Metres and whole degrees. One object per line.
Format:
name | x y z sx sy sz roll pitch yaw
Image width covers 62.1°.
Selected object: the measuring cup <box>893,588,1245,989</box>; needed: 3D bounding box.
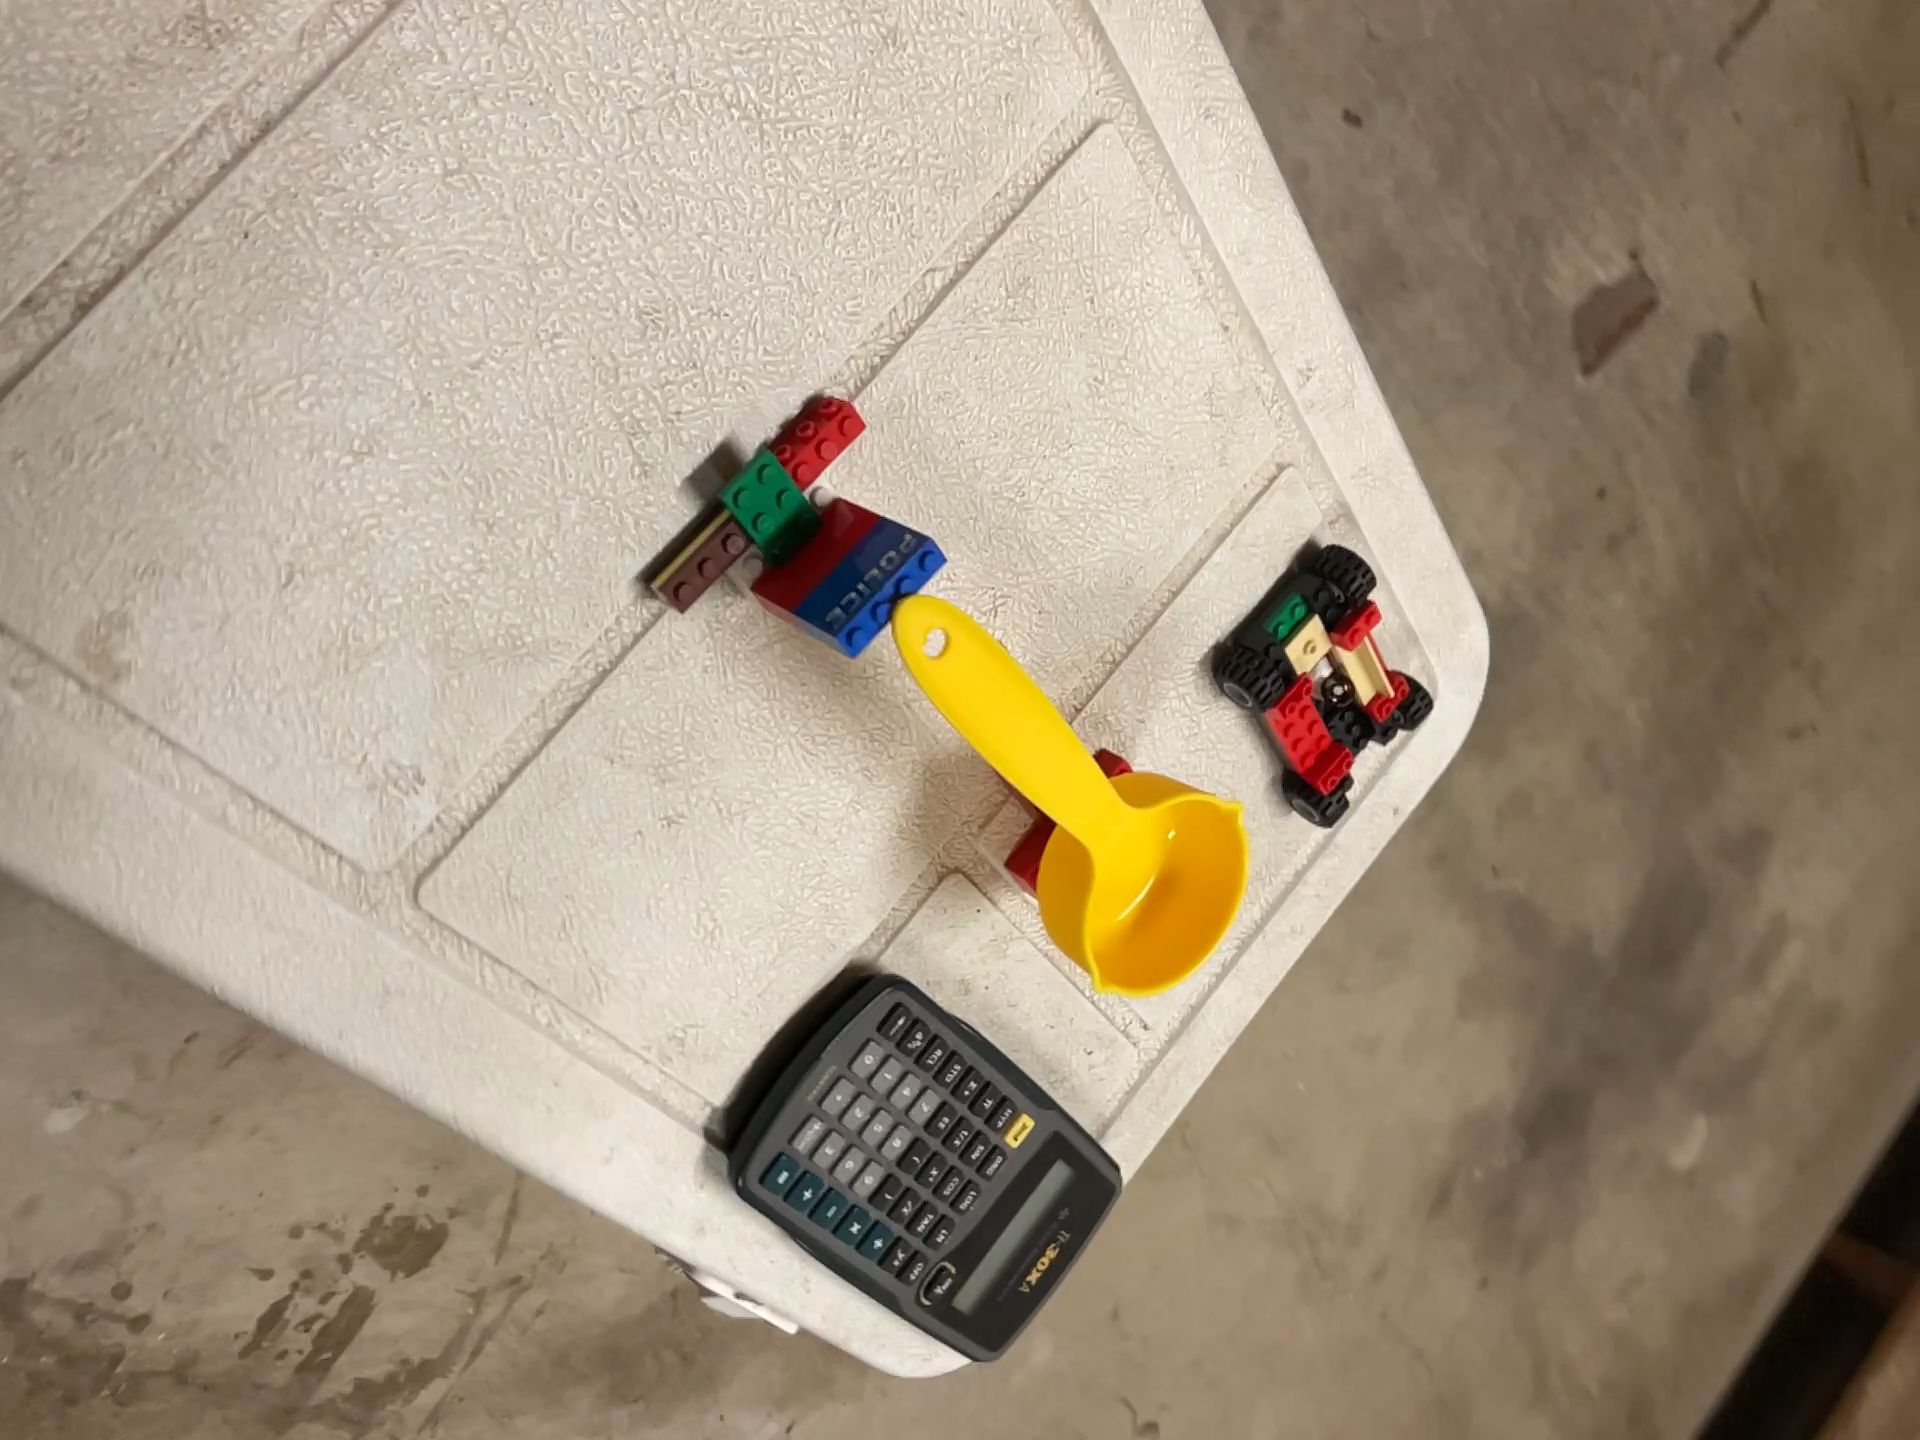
measuring cup | 0.023 0.014 0.414 0.062 0.029 0.156 -50 128 -10
